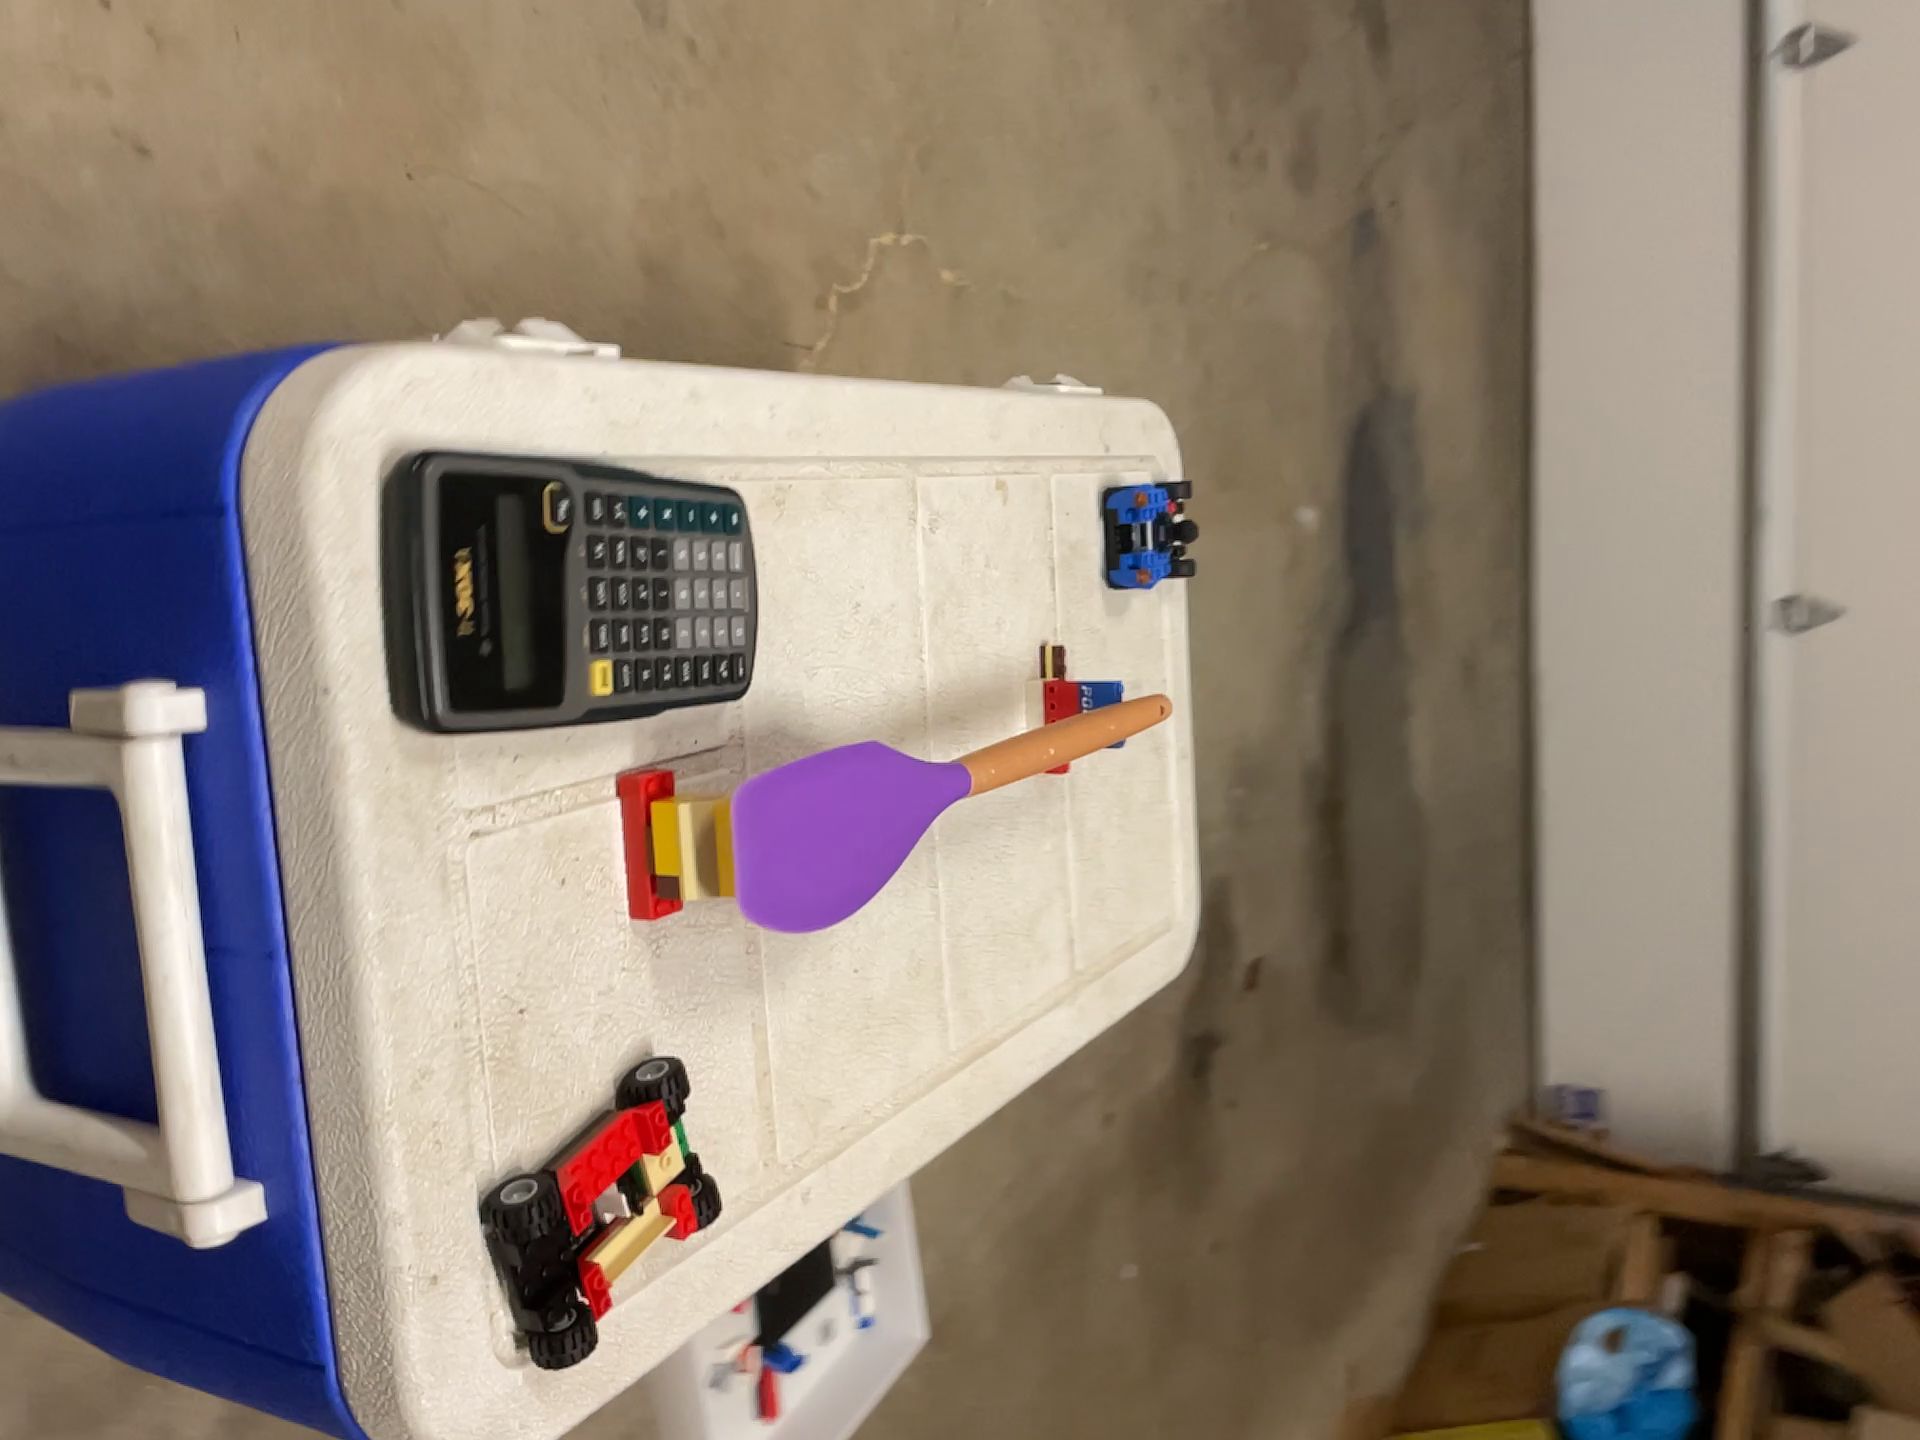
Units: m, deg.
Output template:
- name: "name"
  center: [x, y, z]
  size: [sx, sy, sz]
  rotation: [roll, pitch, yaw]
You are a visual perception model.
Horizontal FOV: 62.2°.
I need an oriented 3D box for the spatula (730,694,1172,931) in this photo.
- name: "spatula"
  center: [0.012, 0.021, 0.630]
  size: [0.316, 0.018, 0.060]
  rotation: [-18, 106, -57]
